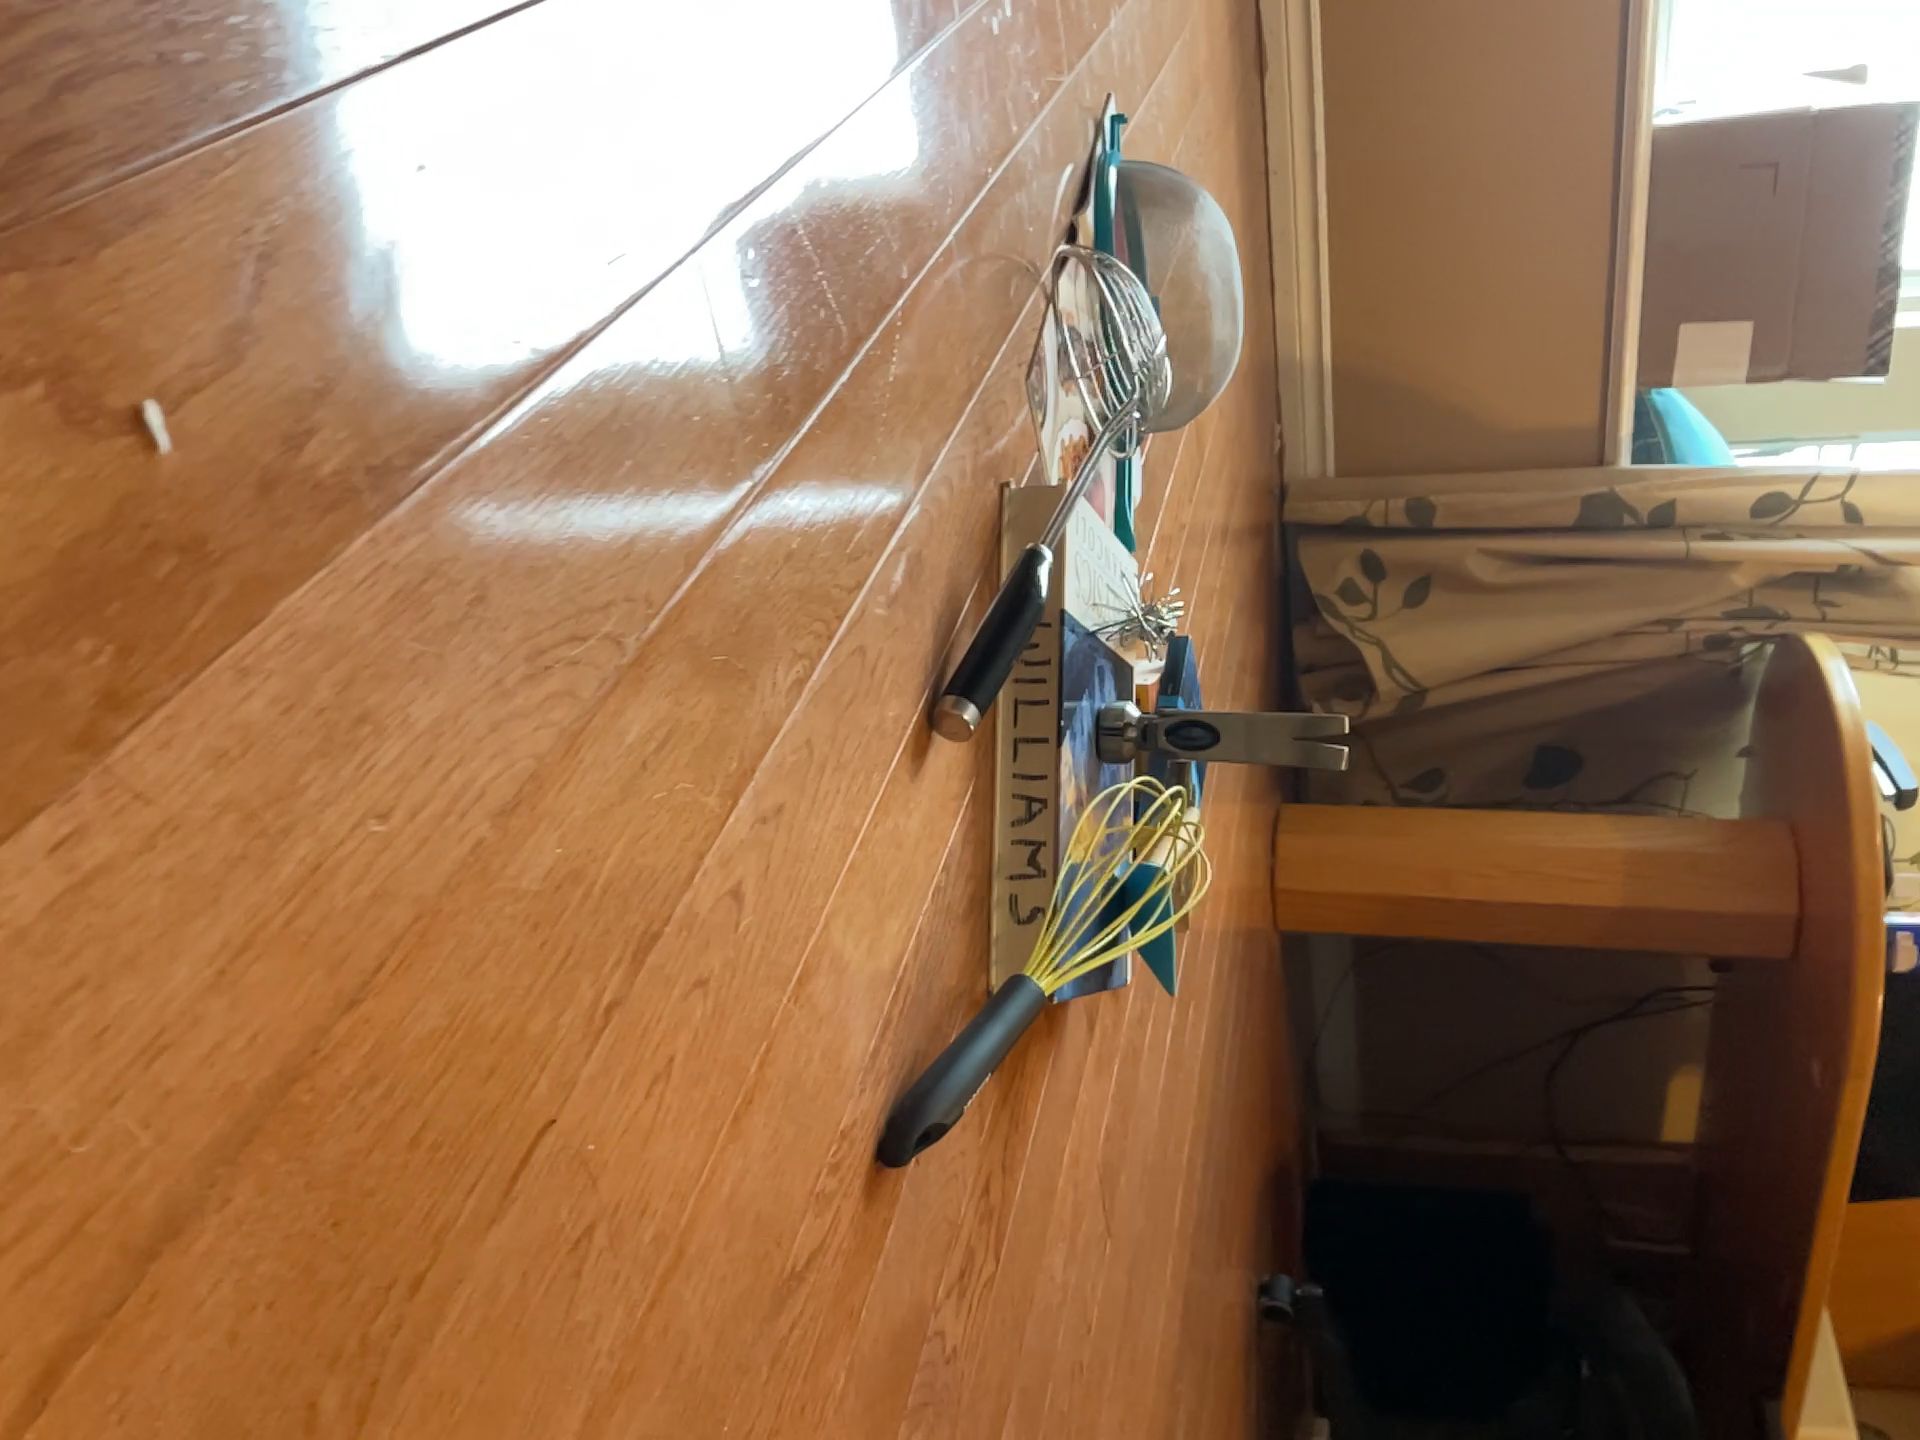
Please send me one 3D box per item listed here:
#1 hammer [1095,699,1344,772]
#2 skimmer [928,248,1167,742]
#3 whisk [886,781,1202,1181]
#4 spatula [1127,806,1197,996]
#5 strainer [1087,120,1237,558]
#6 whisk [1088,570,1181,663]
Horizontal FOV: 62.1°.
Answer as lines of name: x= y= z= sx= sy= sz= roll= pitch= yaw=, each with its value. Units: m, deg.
hammer: x=0.190 y=0.013 z=1.100 sx=0.386 sy=0.143 sz=0.038 roll=4 pitch=89 yaw=-77
skimmer: x=0.034 y=-0.126 z=0.861 sx=0.127 sy=0.090 sz=0.364 roll=77 pitch=30 yaw=-43
whisk: x=0.044 y=0.118 z=0.774 sx=0.312 sy=0.067 sz=0.080 roll=-43 pitch=148 yaw=-50
spatula: x=0.146 y=0.098 z=1.082 sx=0.318 sy=0.044 sz=0.082 roll=-32 pitch=118 yaw=-72
strainer: x=0.152 y=-0.255 z=1.127 sx=0.210 sy=0.095 sz=0.341 roll=68 pitch=19 yaw=-54
whisk: x=0.117 y=-0.061 z=1.001 sx=0.059 sy=0.057 sz=0.246 roll=59 pitch=10 yaw=5
